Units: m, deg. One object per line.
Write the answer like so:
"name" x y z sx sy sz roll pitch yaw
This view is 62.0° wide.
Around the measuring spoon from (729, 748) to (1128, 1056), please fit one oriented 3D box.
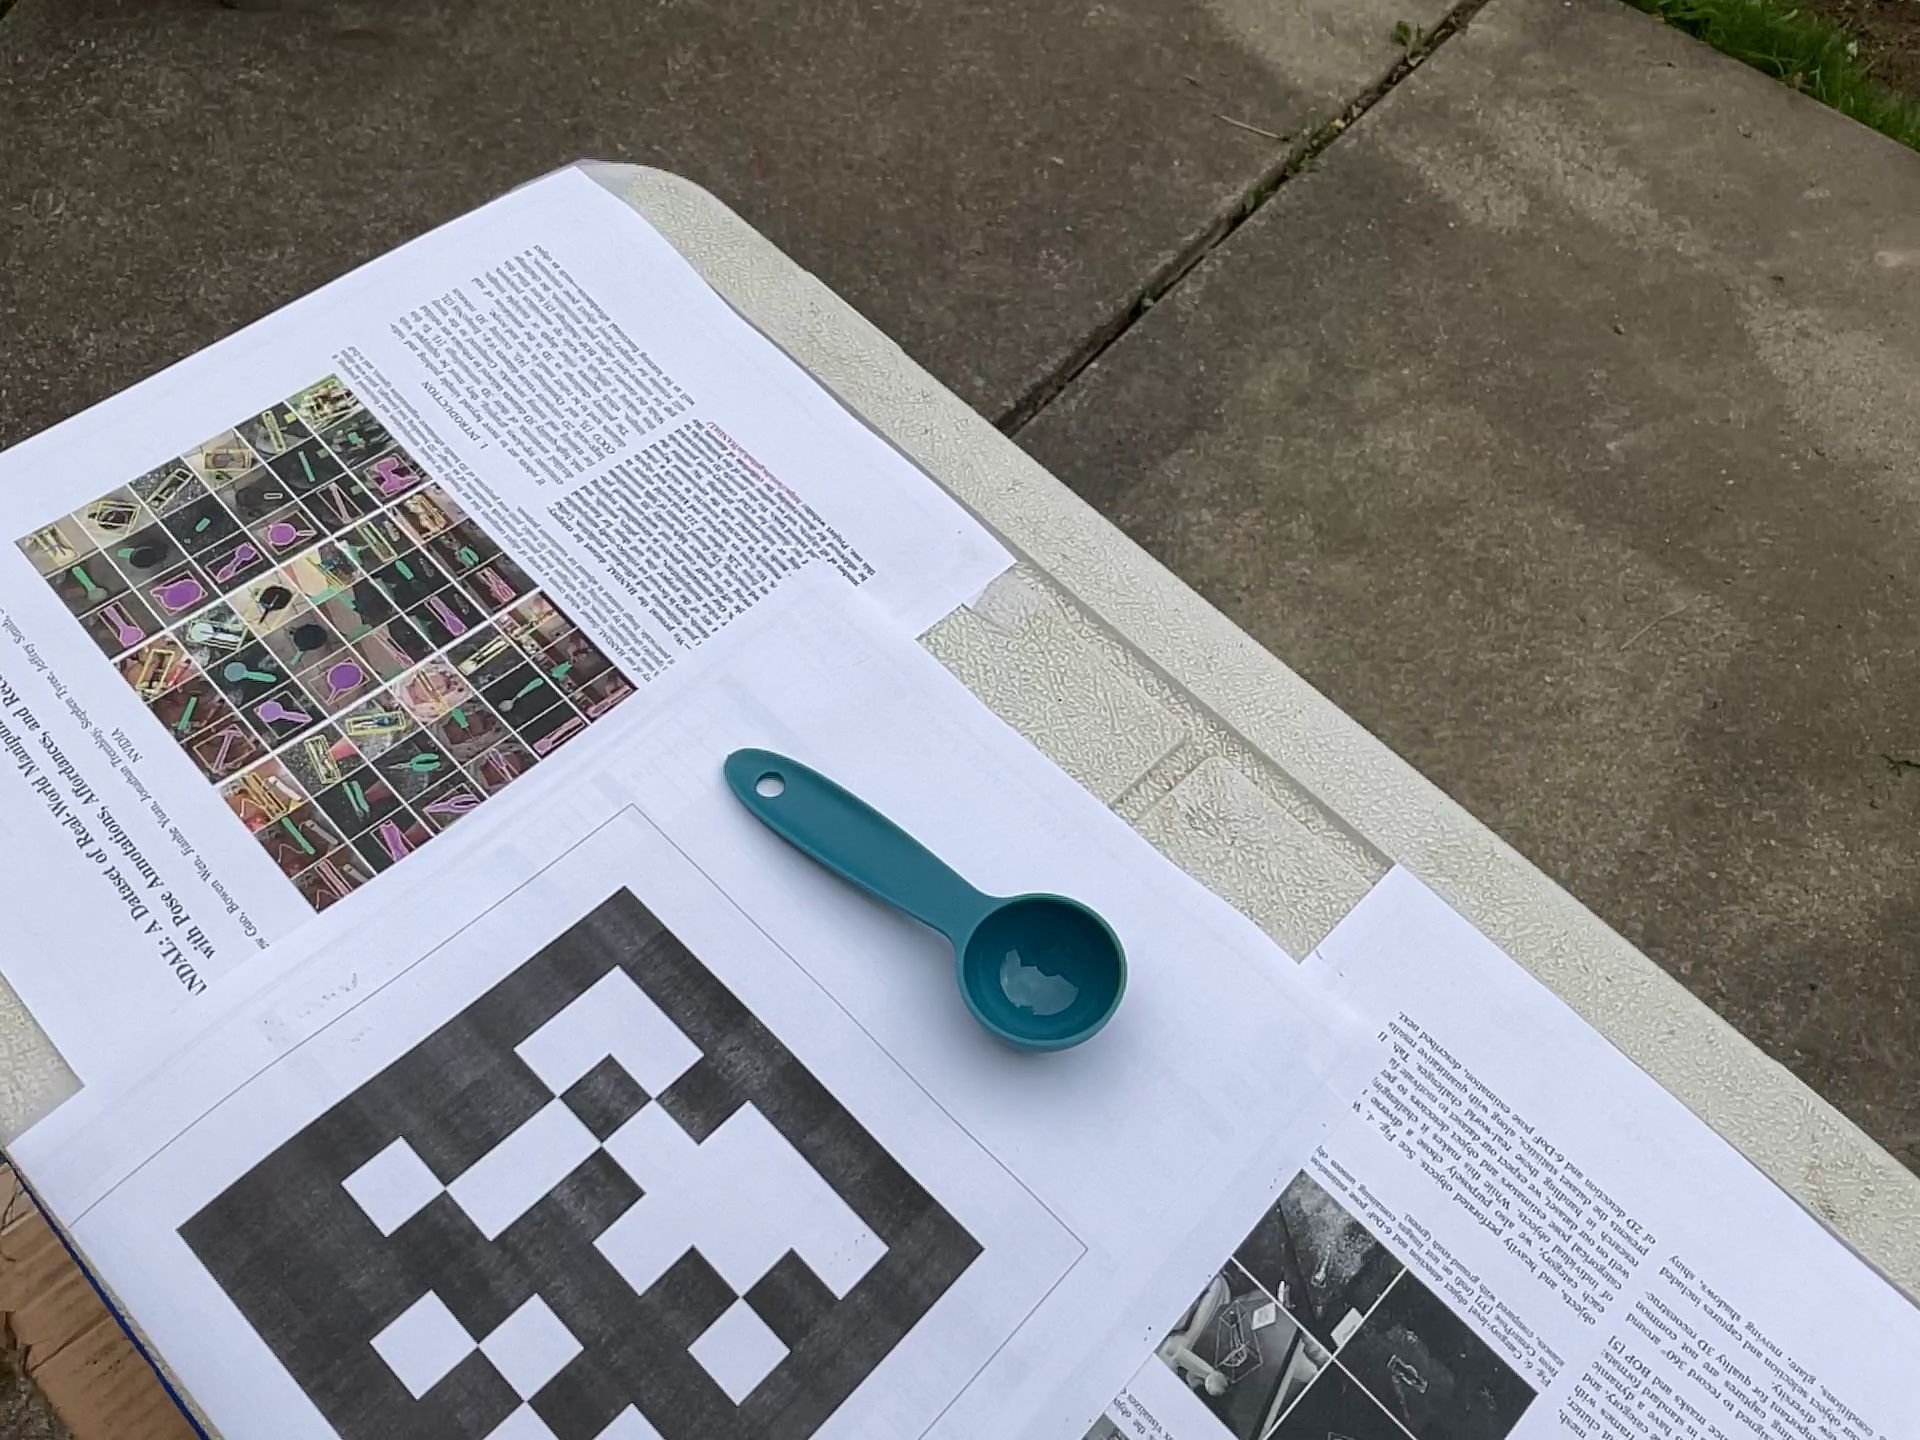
"measuring spoon" -0.013 0.046 0.423 0.129 0.021 0.042 33 60 24
